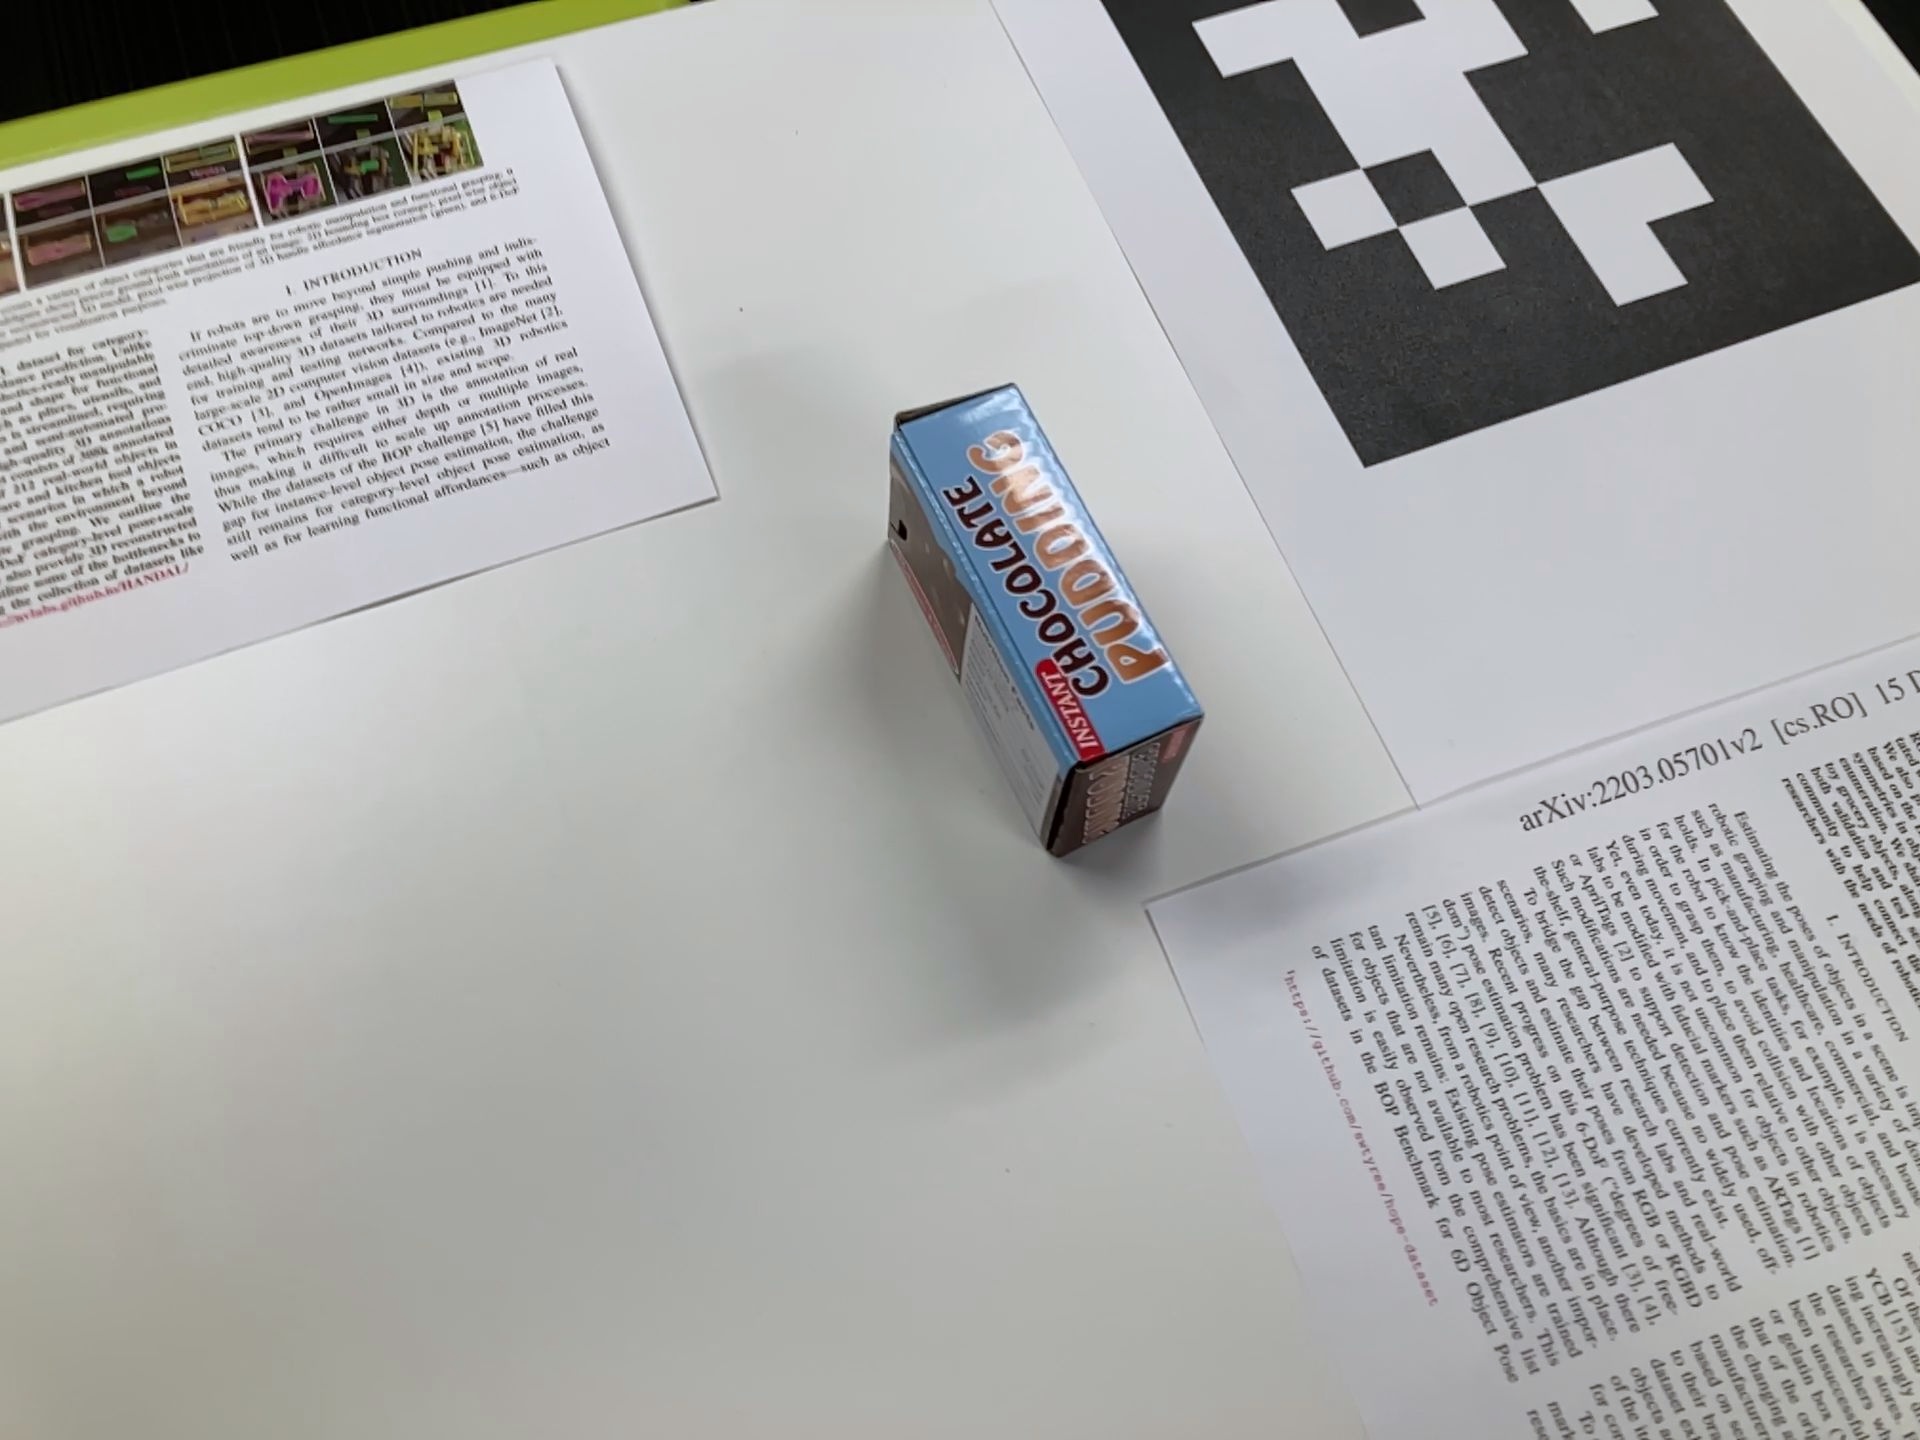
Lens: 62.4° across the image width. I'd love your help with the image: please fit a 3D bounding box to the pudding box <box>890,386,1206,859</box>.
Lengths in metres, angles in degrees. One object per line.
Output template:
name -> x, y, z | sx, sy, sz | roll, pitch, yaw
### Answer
pudding box -> 0.014, -0.020, 0.324 | 0.030, 0.049, 0.083 | -22, 68, -12
